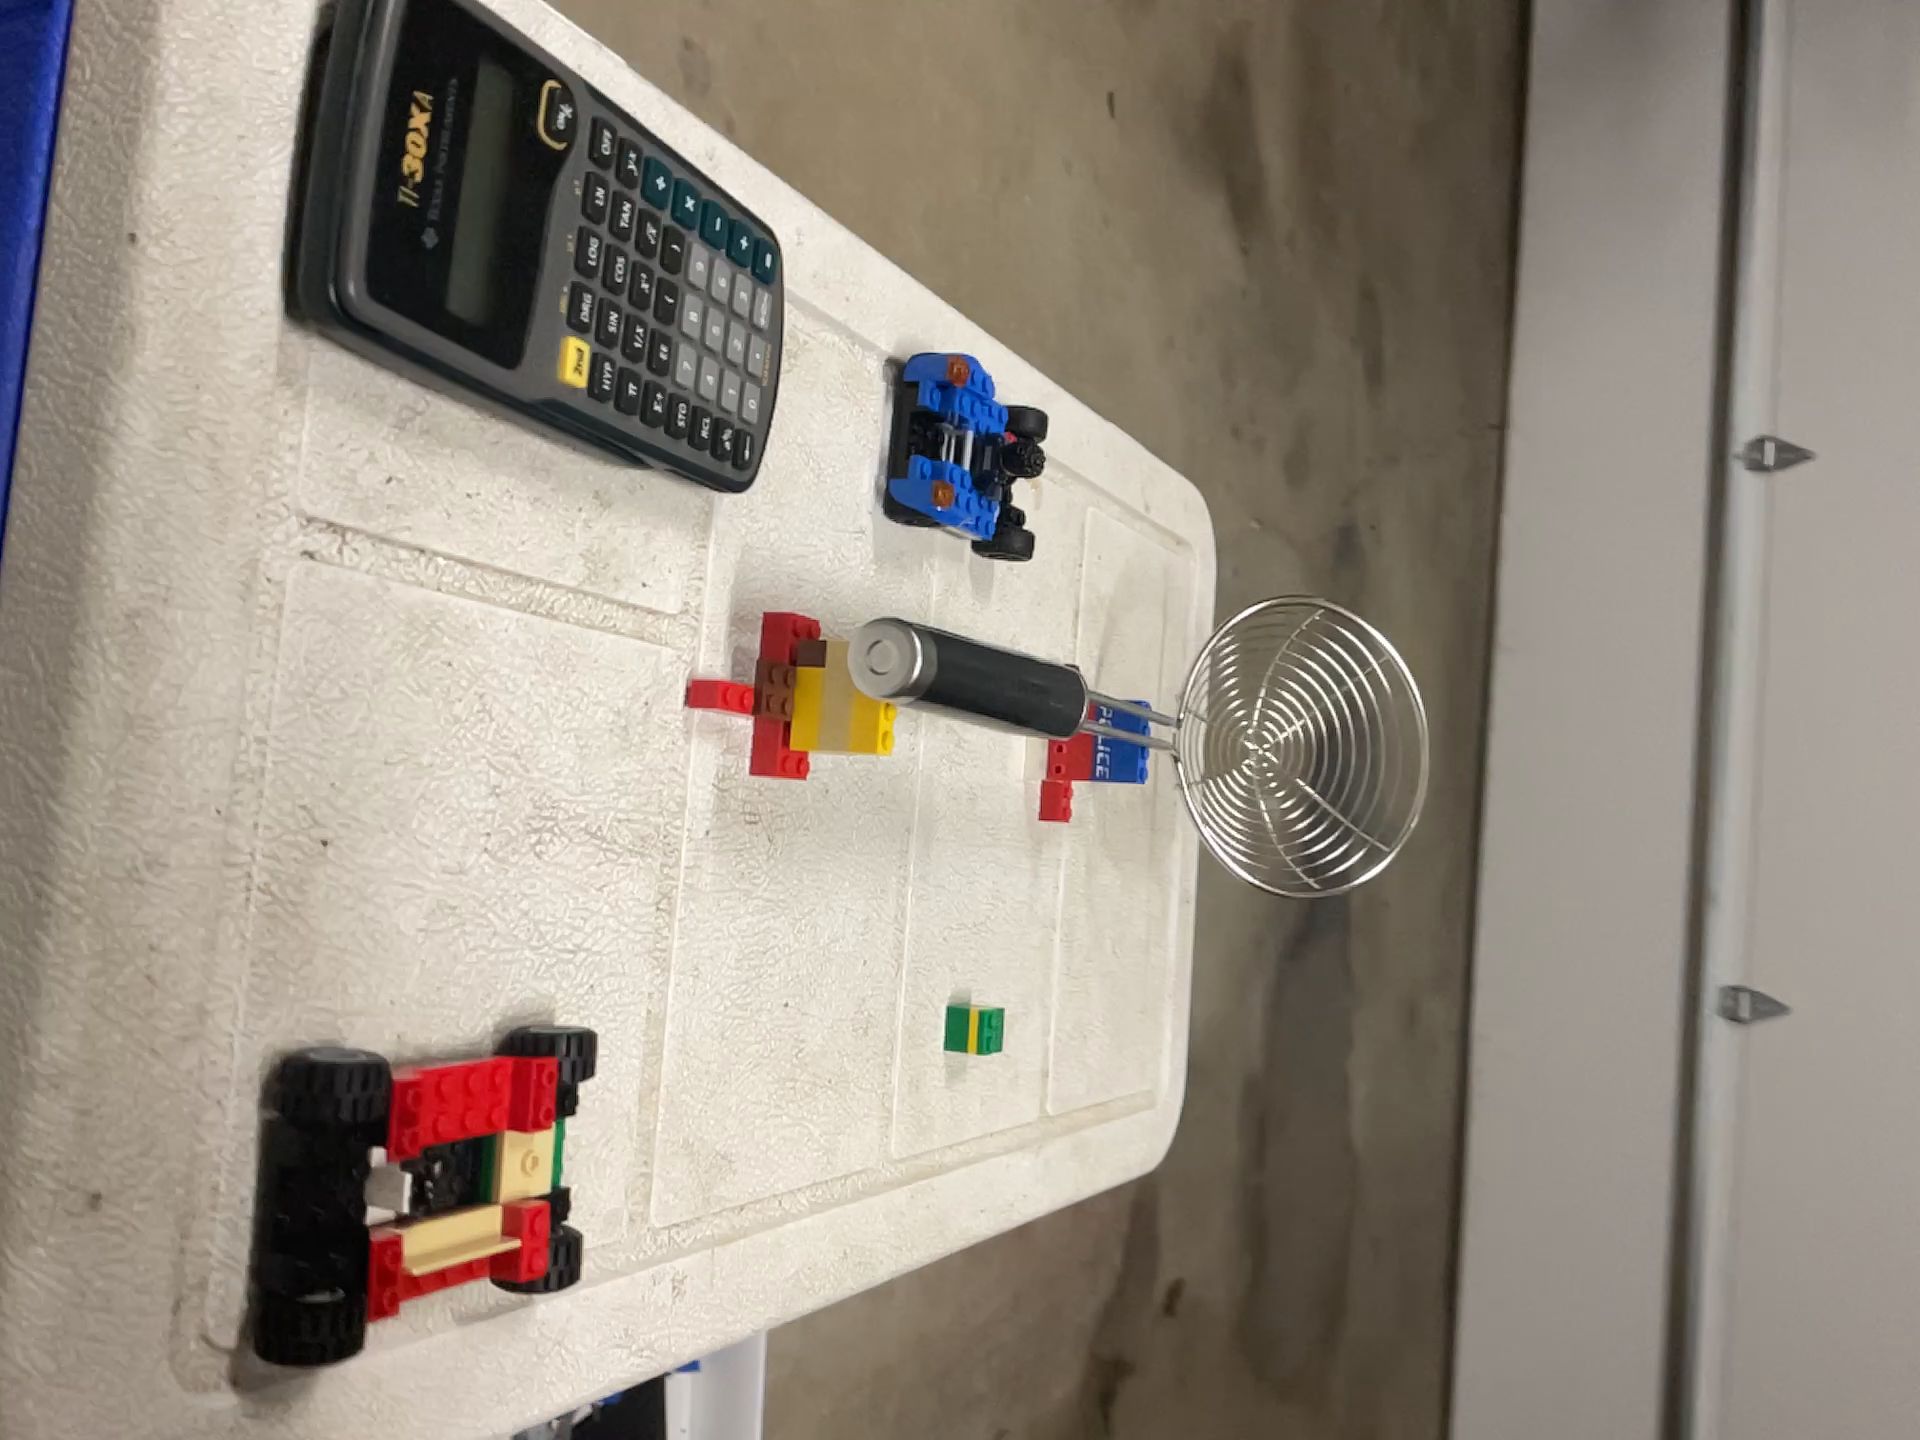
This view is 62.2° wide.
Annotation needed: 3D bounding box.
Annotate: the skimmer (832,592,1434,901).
[{"bbox_3d":[0.084,-0.001,0.544,0.363,0.090,0.127,12,79,-63],"label":"skimmer"}]
